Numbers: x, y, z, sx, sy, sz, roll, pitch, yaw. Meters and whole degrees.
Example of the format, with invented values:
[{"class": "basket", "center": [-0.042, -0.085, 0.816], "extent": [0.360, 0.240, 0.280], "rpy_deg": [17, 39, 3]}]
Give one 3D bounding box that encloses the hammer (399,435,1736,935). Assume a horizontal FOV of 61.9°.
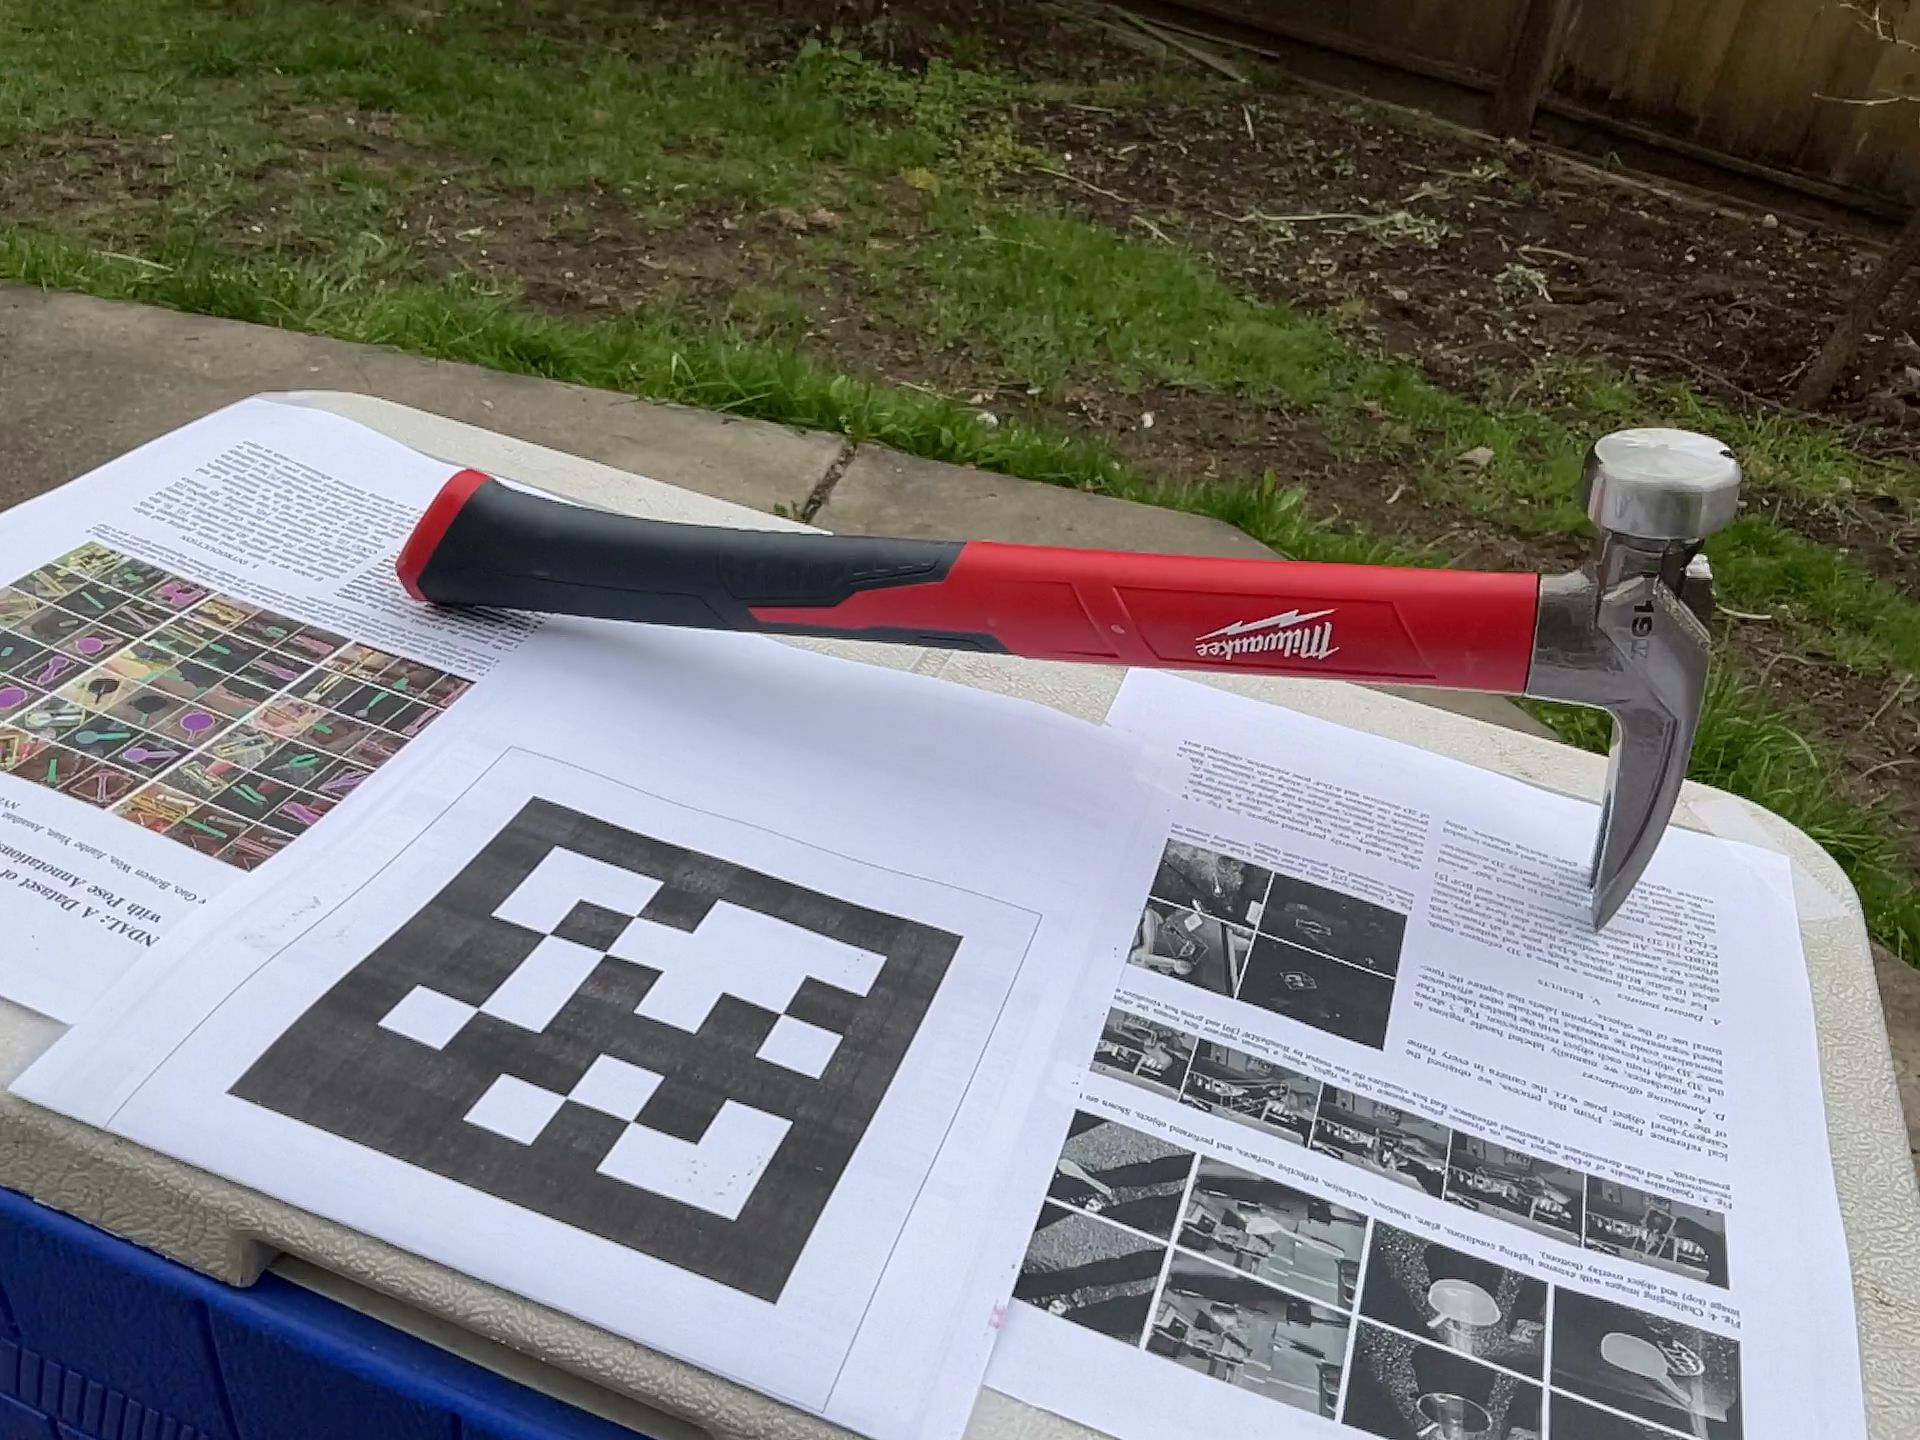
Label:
[{"class": "hammer", "center": [0.013, -0.022, 0.485], "extent": [0.386, 0.143, 0.038], "rpy_deg": [5, 32, 14]}]
